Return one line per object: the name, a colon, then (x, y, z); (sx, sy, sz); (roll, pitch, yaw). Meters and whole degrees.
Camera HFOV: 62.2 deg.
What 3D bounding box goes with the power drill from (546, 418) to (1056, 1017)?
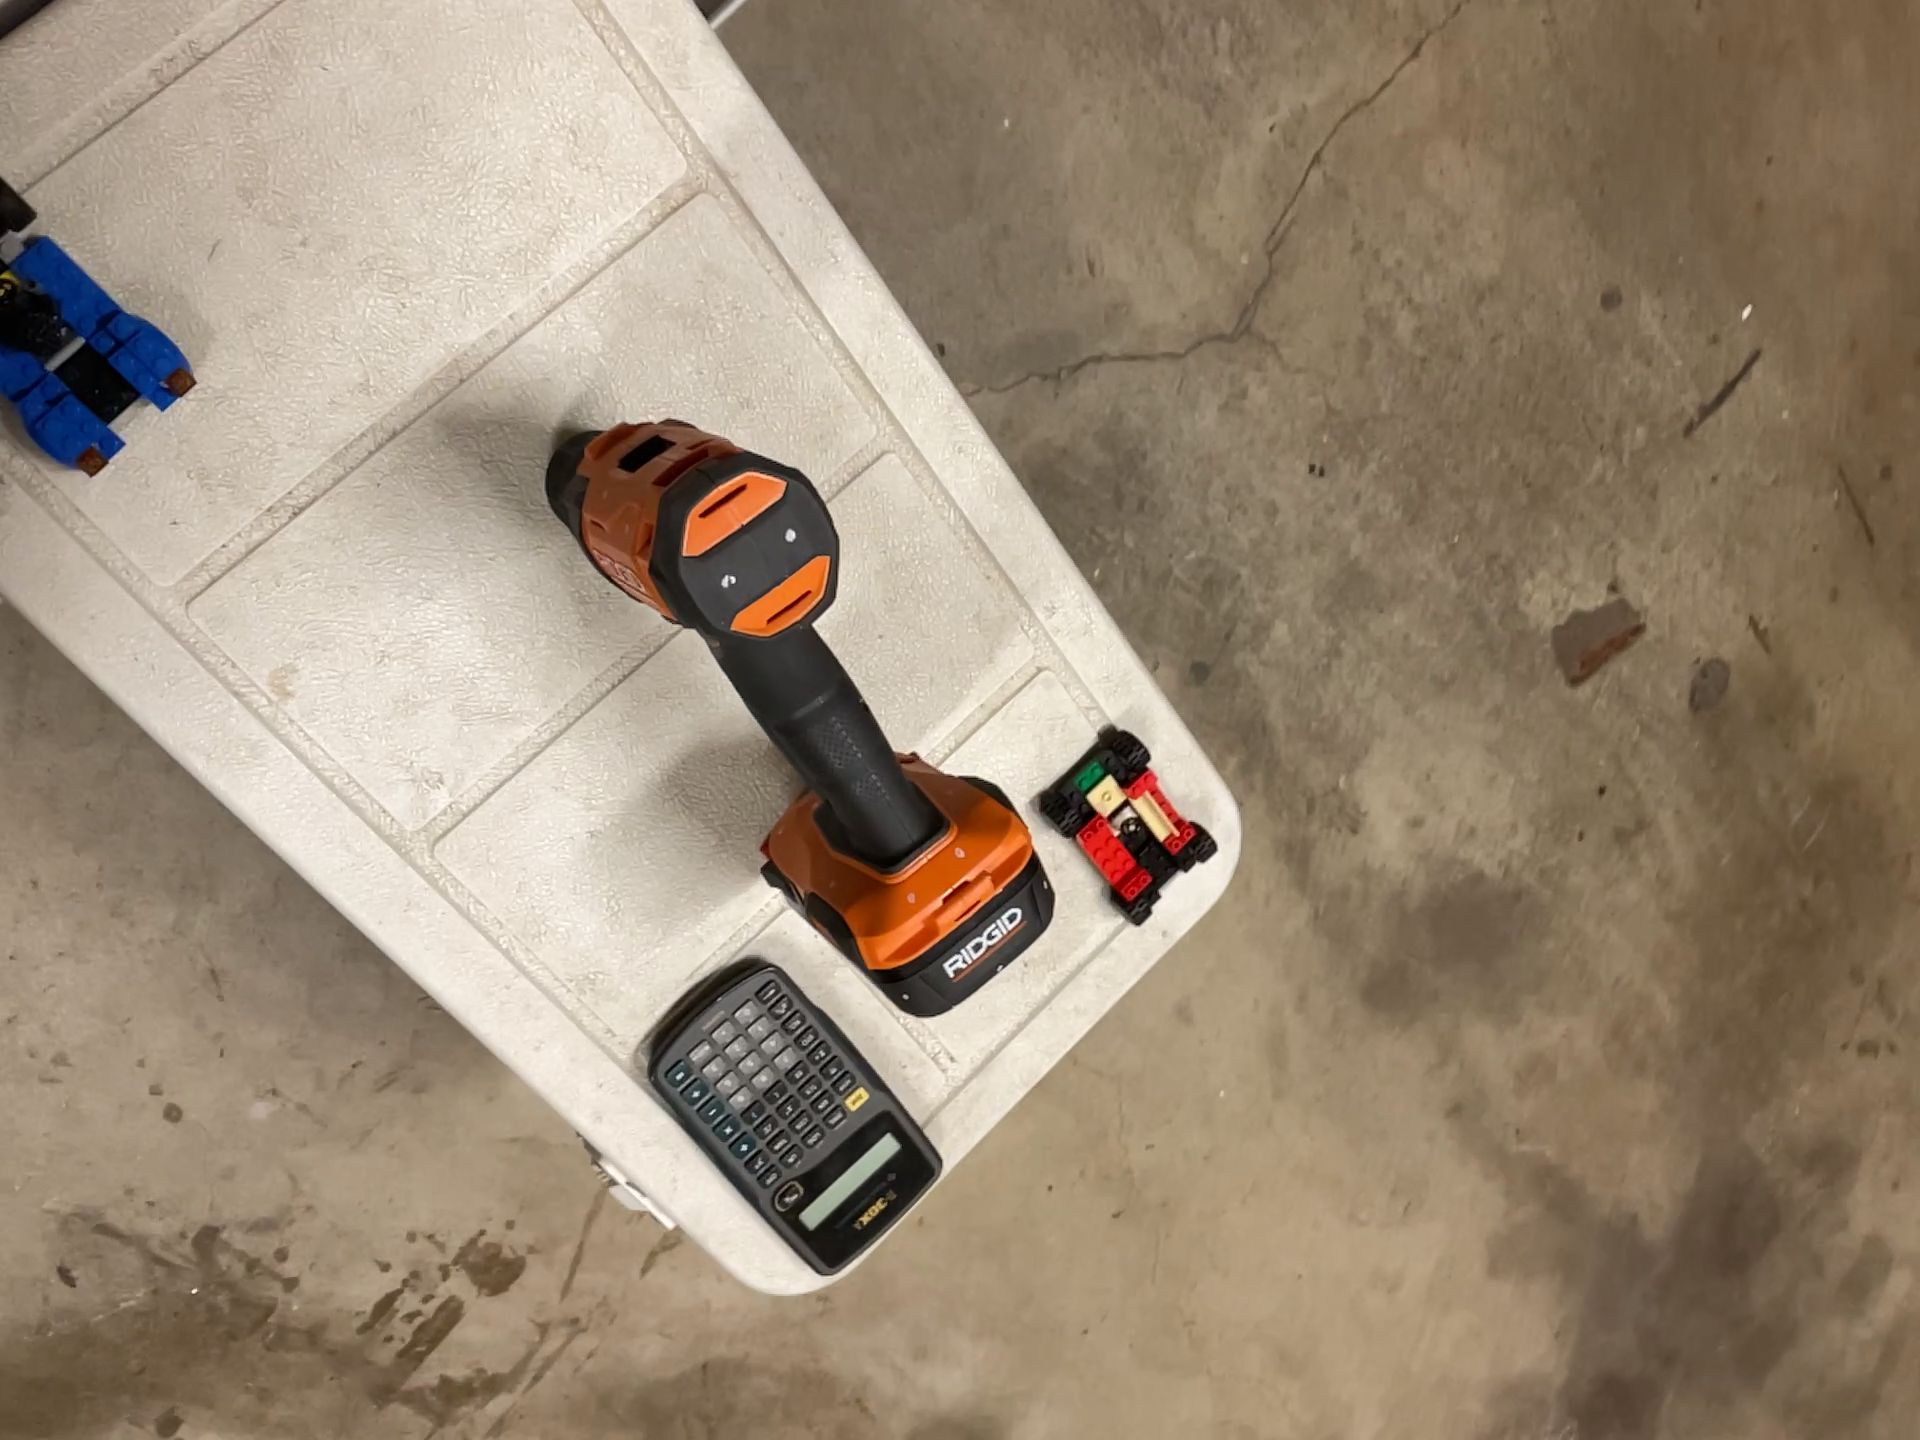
power drill: (-0.072, -0.013, 0.602); (0.084, 0.185, 0.226); (-38, 121, -15)
